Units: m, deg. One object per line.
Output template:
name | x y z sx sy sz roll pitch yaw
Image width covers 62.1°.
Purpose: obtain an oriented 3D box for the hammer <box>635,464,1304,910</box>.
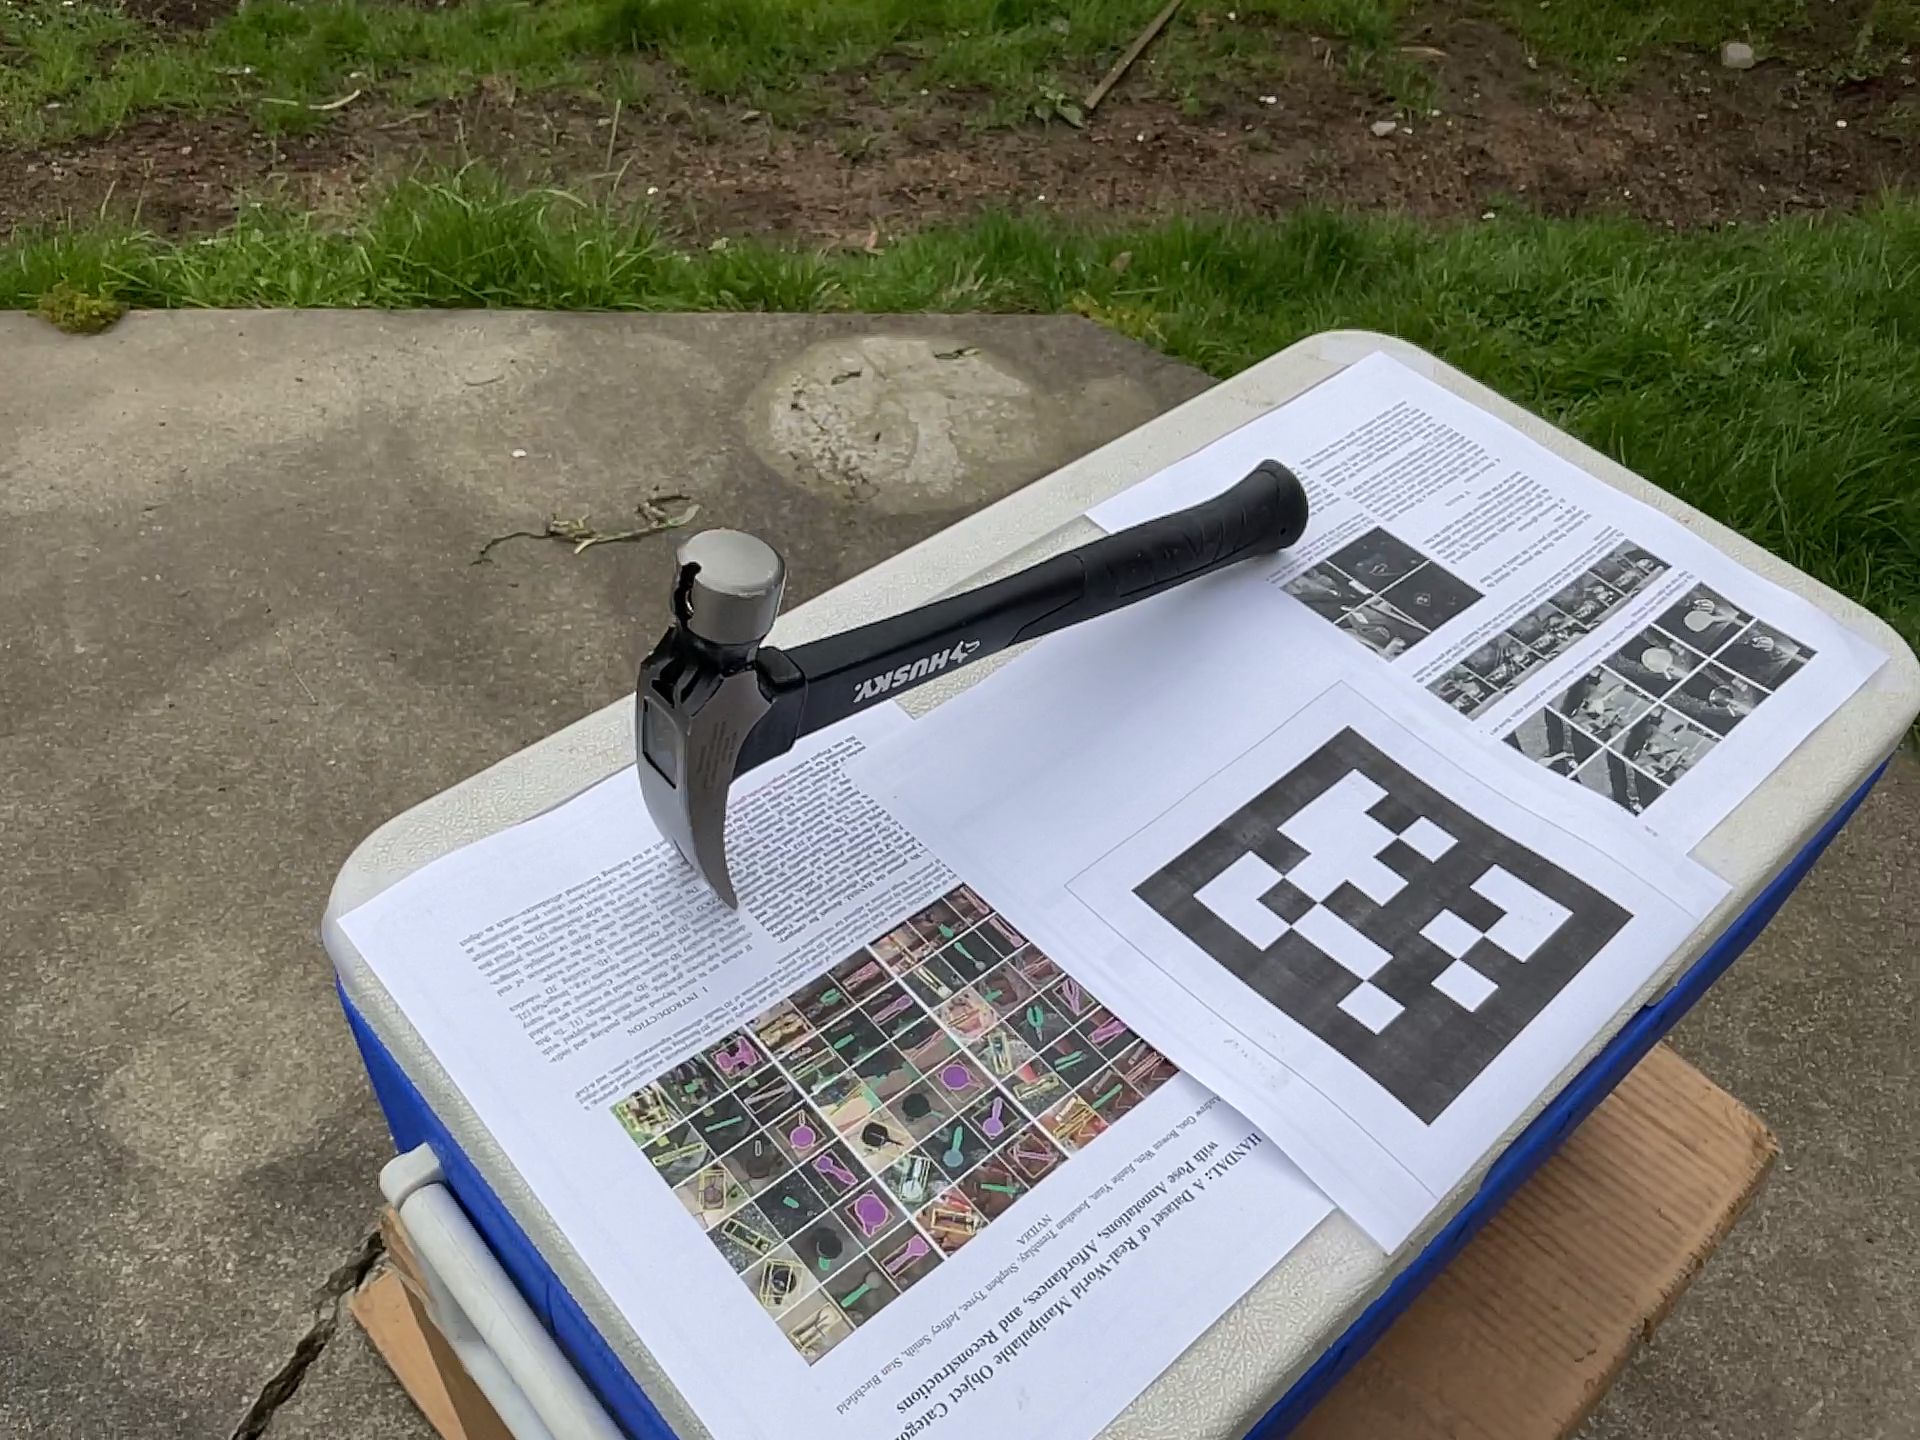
hammer | 0.022 -0.038 0.605 0.334 0.146 0.035 -23 54 -40
